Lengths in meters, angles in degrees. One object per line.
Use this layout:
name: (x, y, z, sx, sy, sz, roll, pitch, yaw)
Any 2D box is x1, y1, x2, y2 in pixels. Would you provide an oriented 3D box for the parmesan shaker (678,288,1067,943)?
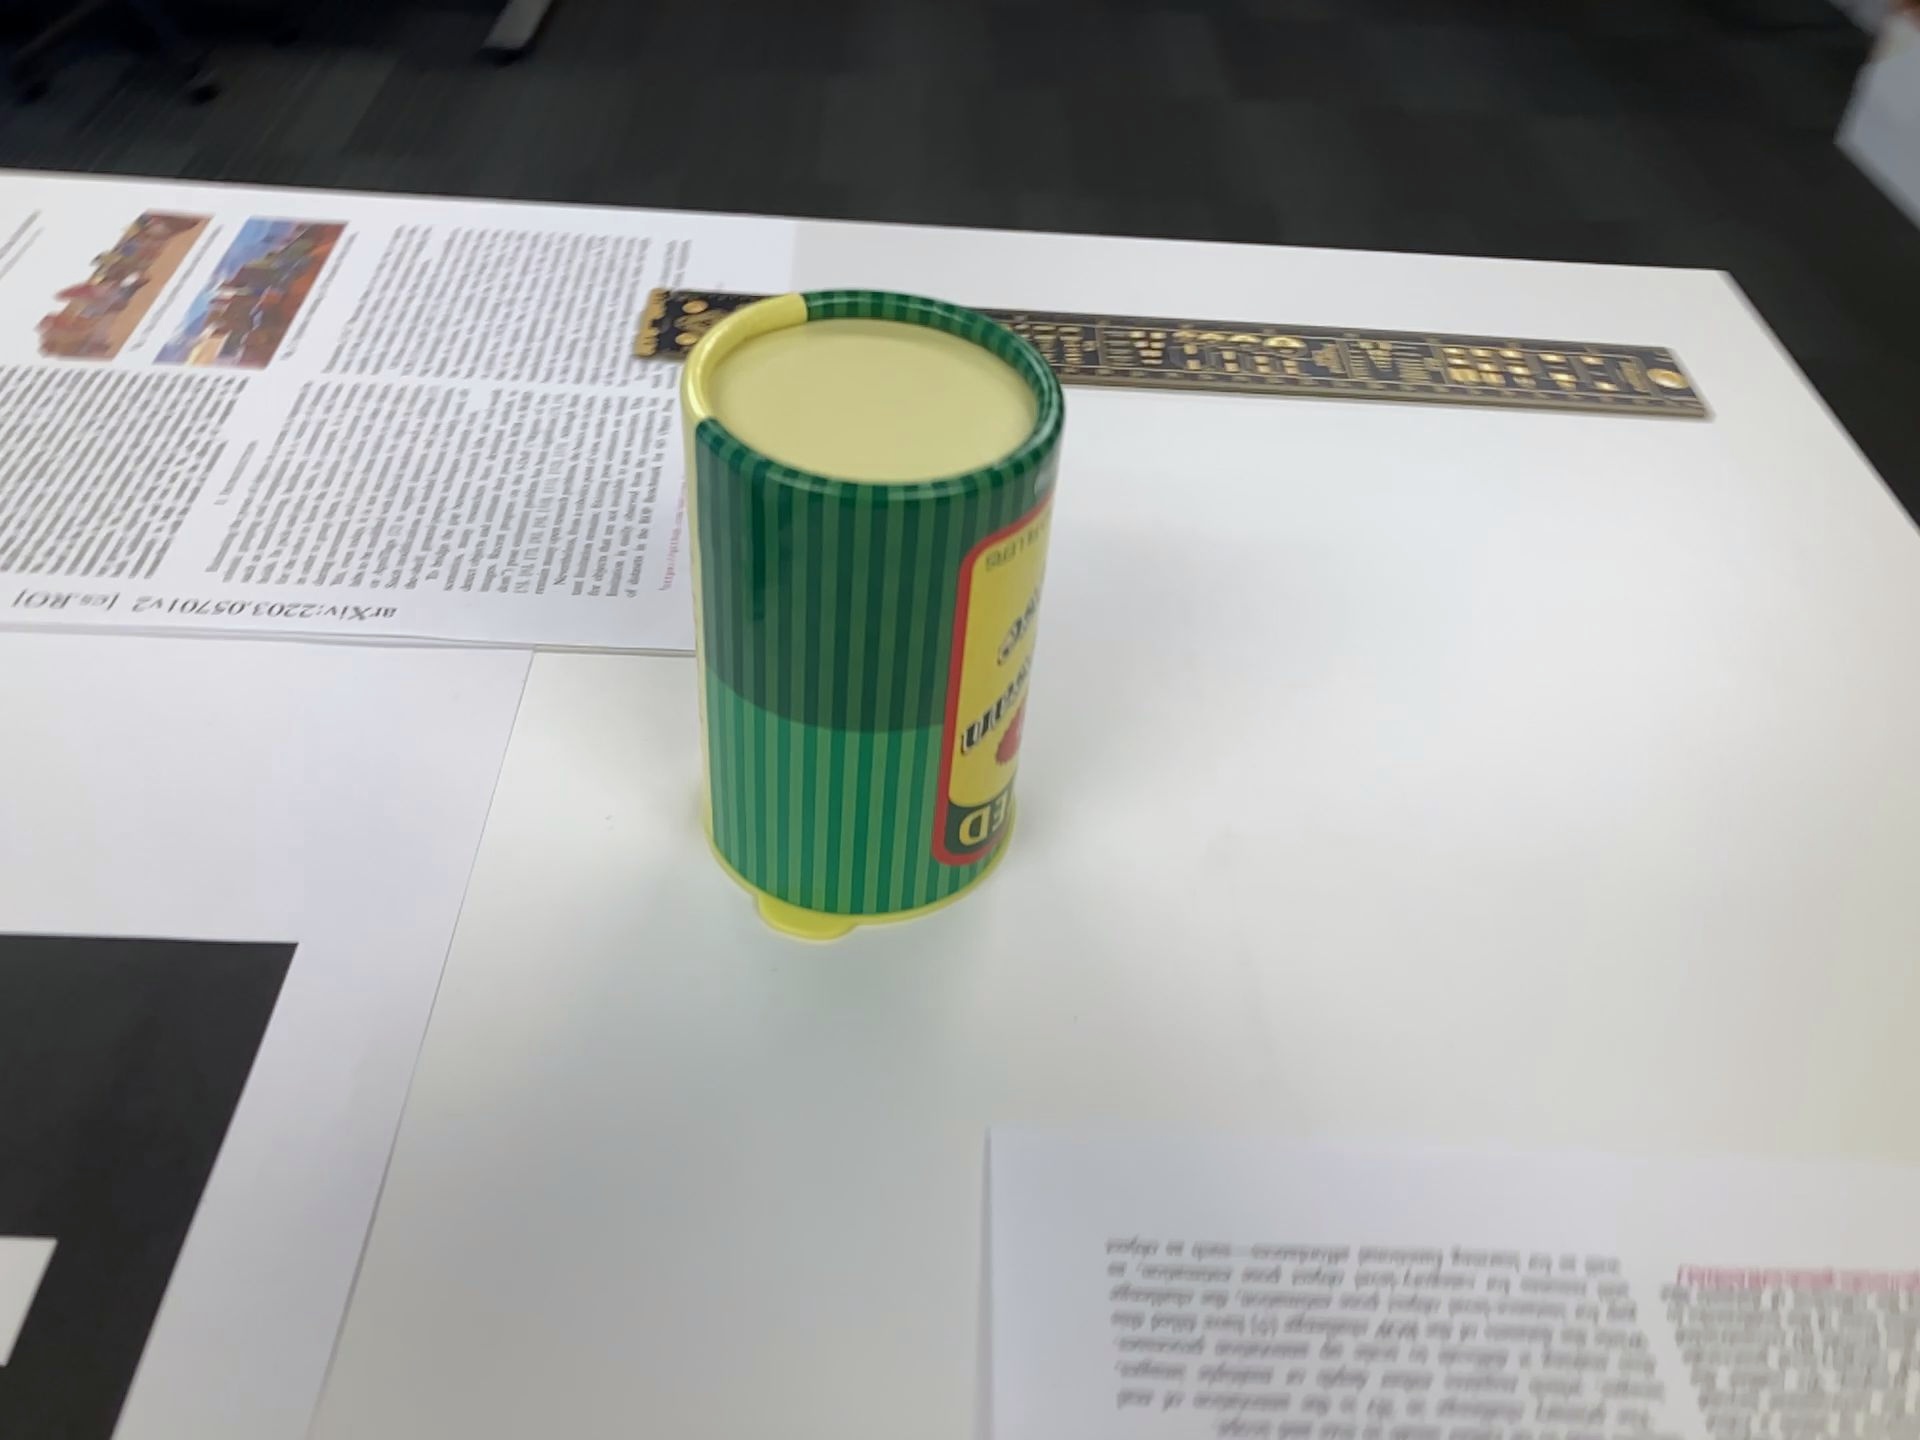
parmesan shaker: (-0.018, -0.017, 0.296, 0.071, 0.103, 0.071, 3, 43, -3)
